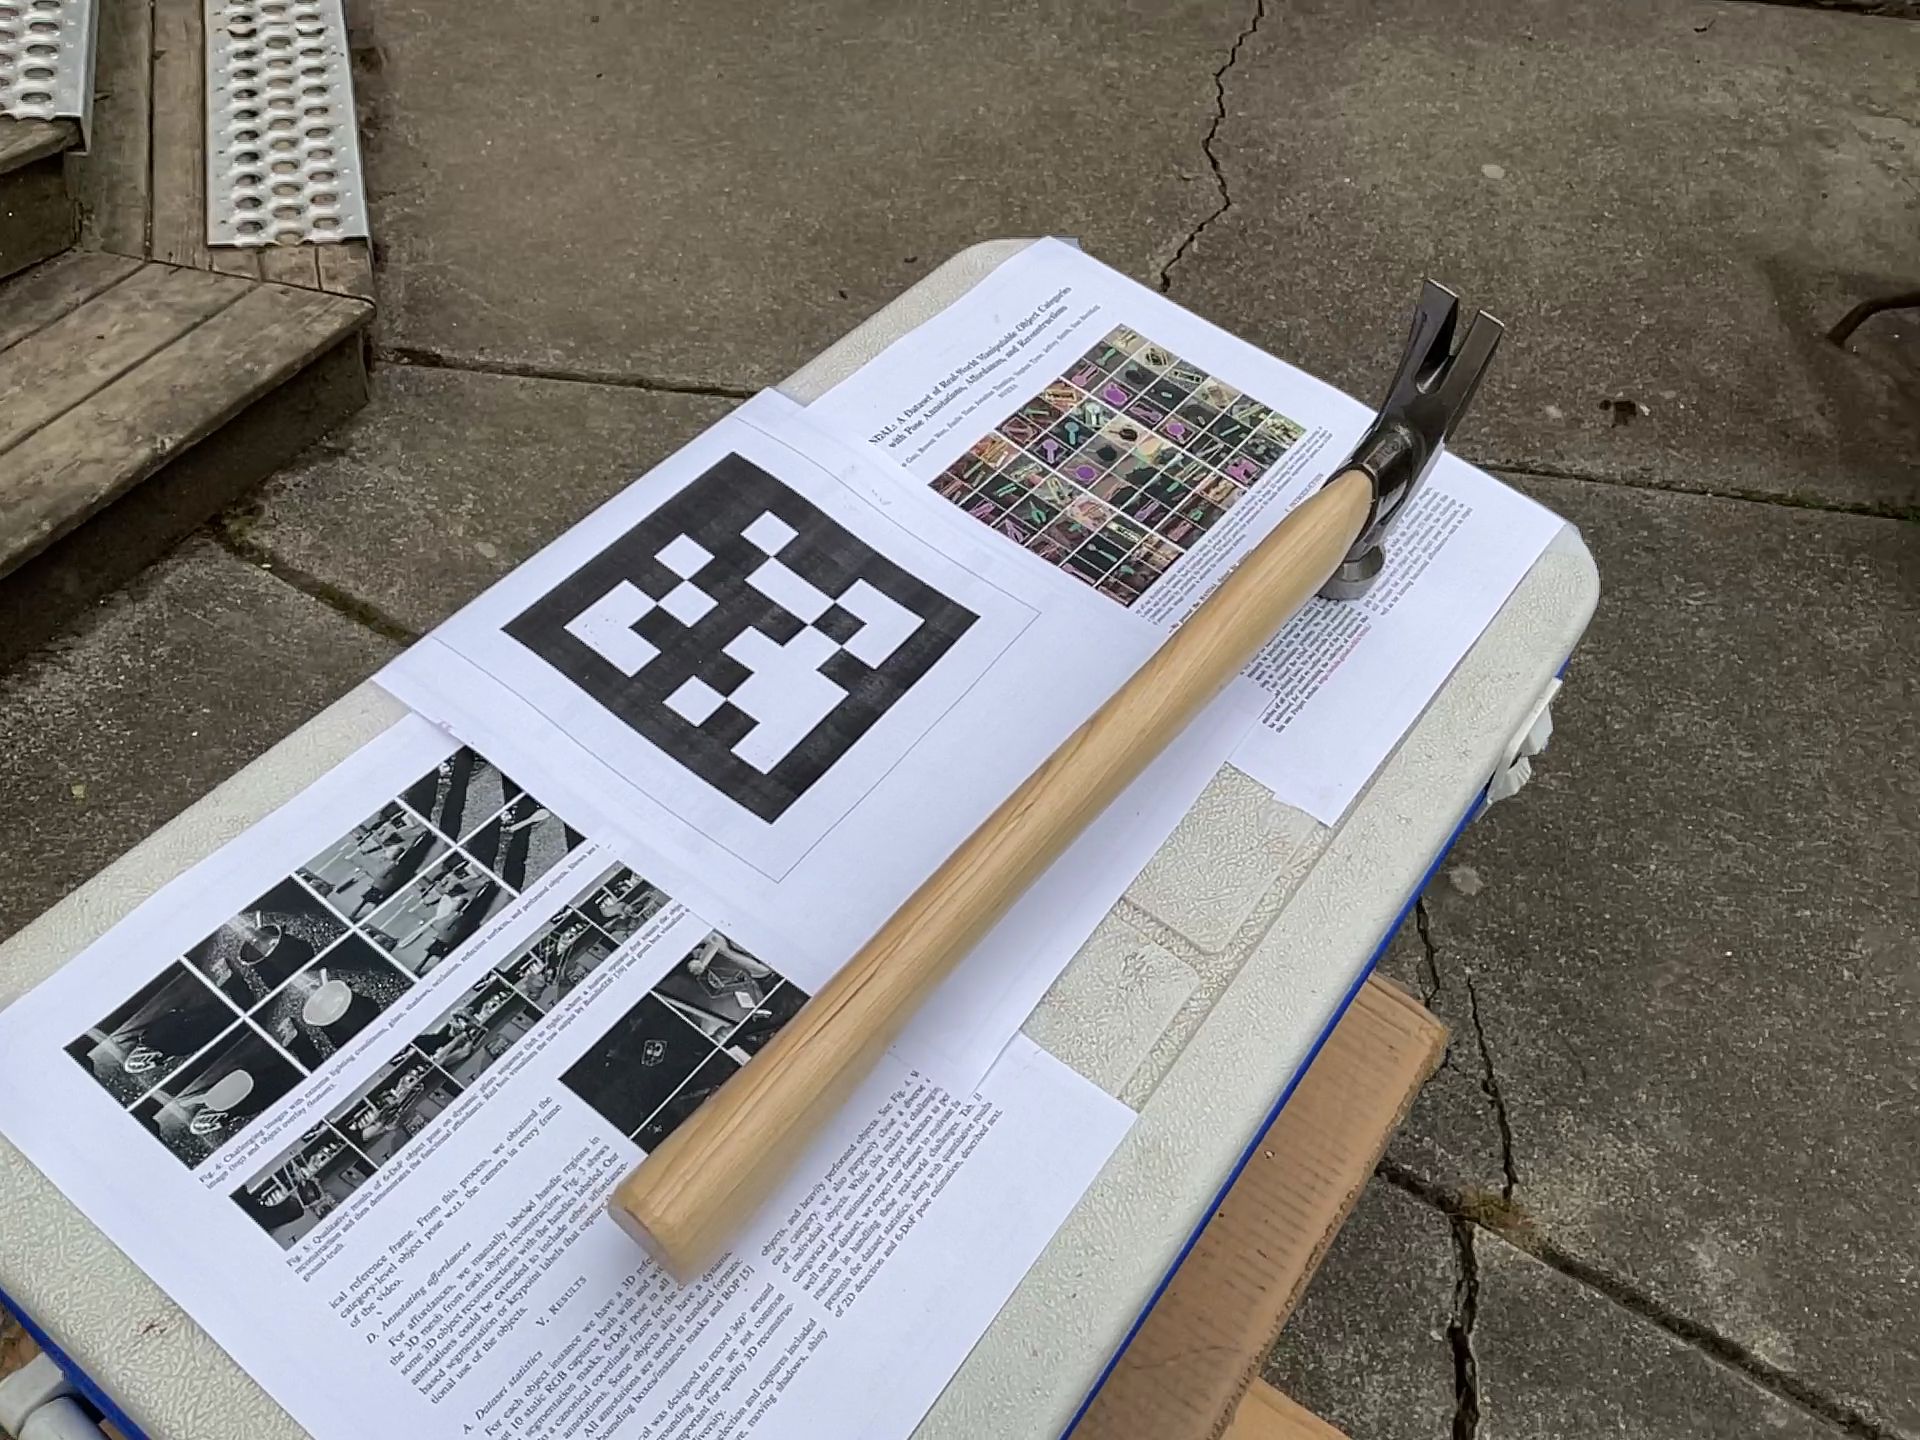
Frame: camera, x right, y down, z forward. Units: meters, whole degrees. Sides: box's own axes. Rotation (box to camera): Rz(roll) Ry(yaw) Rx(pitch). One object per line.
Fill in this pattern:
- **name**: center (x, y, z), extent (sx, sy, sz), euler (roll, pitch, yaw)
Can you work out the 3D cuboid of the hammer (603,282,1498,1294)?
- **hammer**: center (0.045, 0.011, 0.517), extent (0.038, 0.146, 0.410), euler (37, 60, 16)
